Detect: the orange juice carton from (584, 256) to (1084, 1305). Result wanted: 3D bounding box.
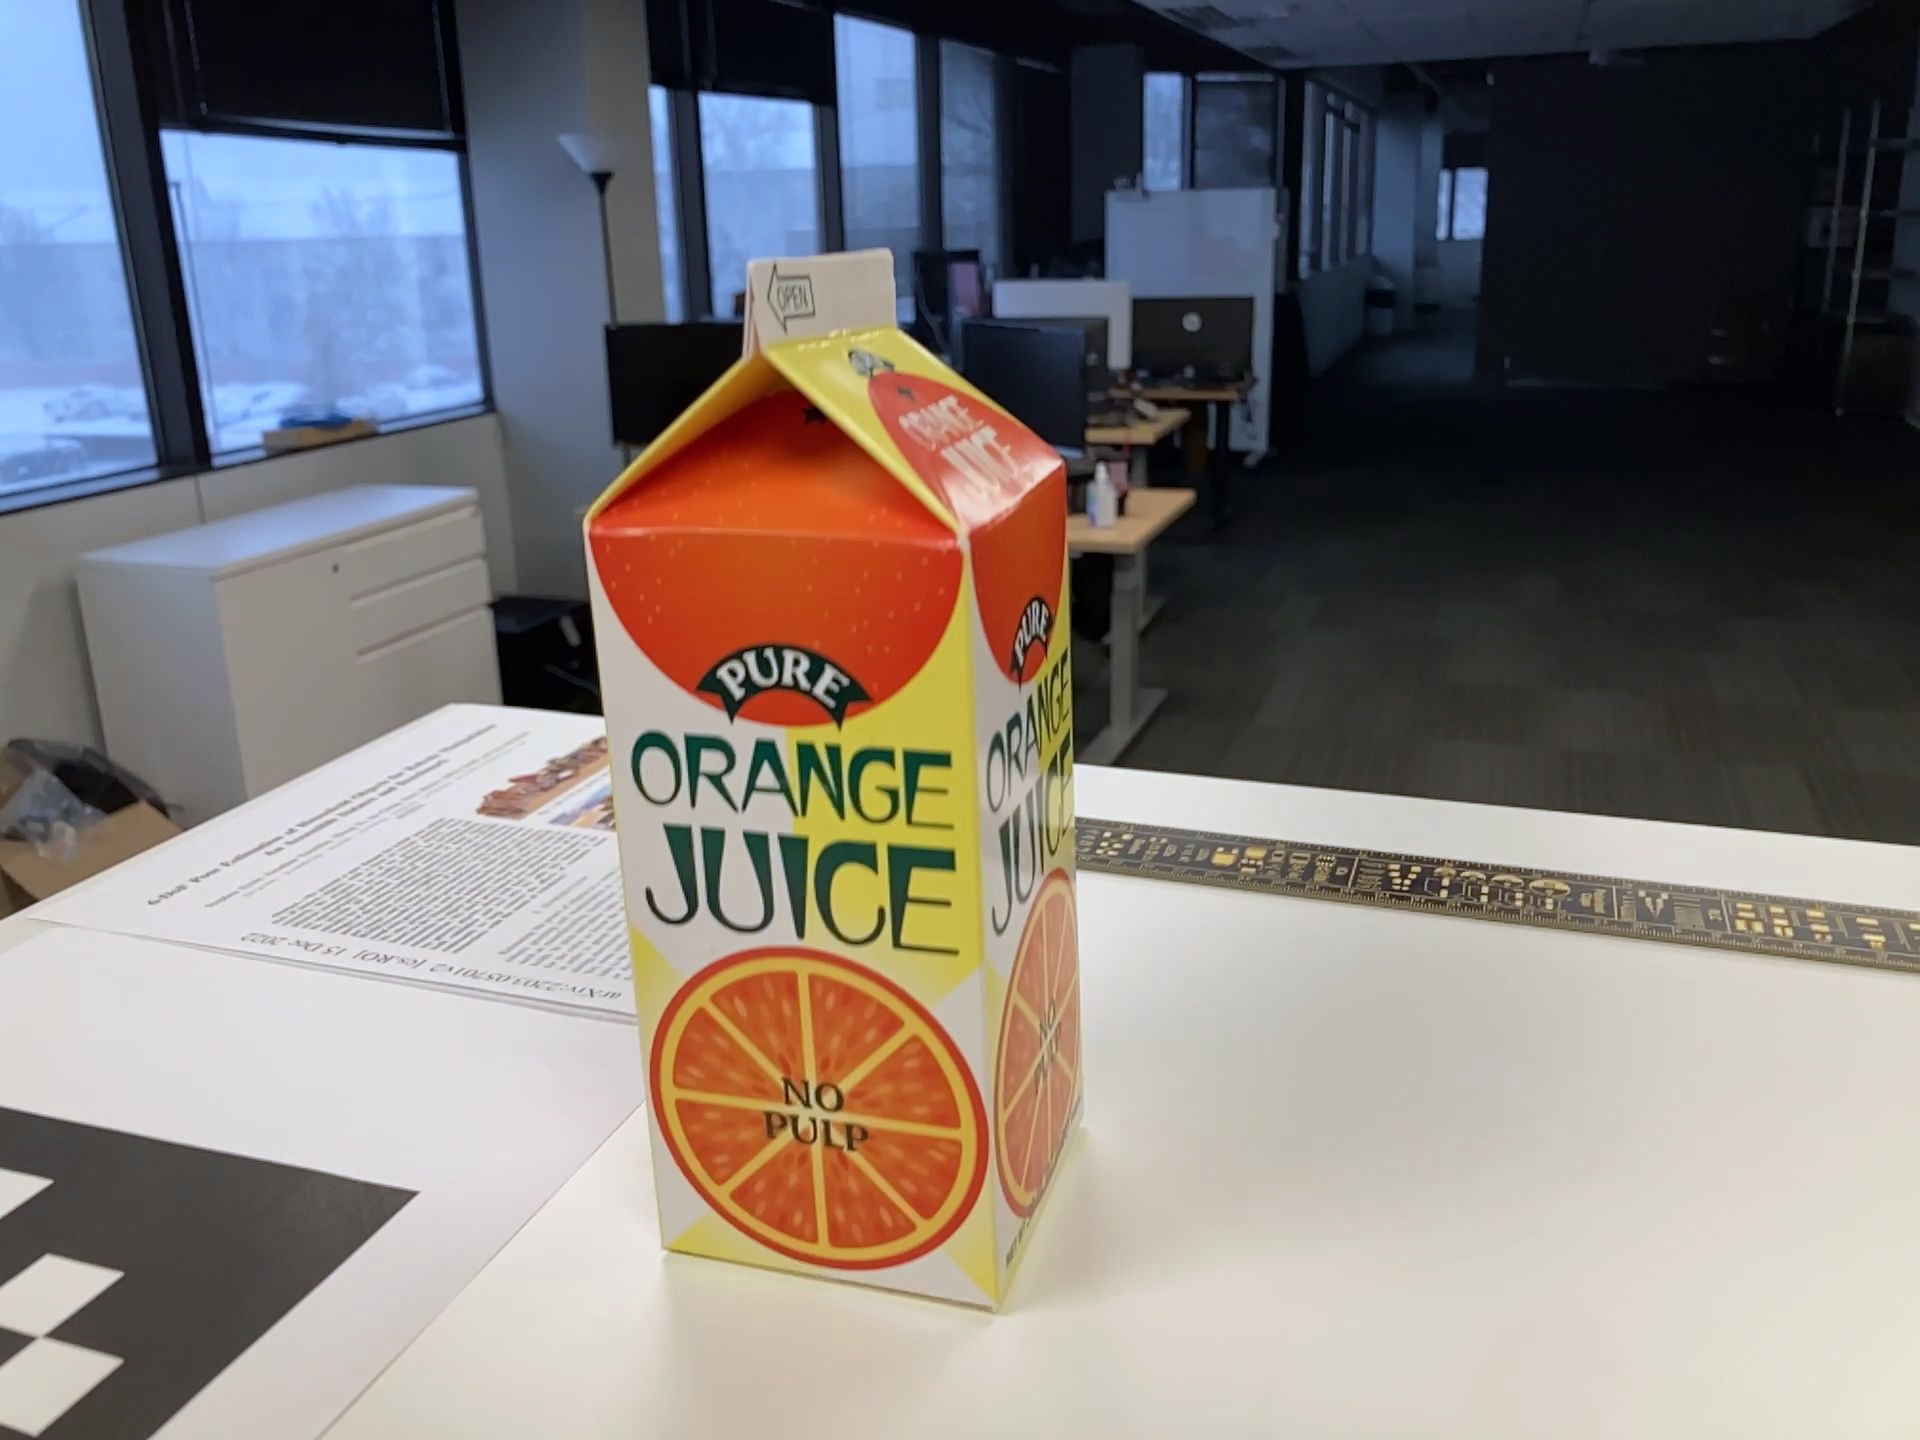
[{"bbox_3d":[-0.020,0.008,0.314,0.073,0.192,0.072,3,18,17],"label":"orange juice carton"}]
